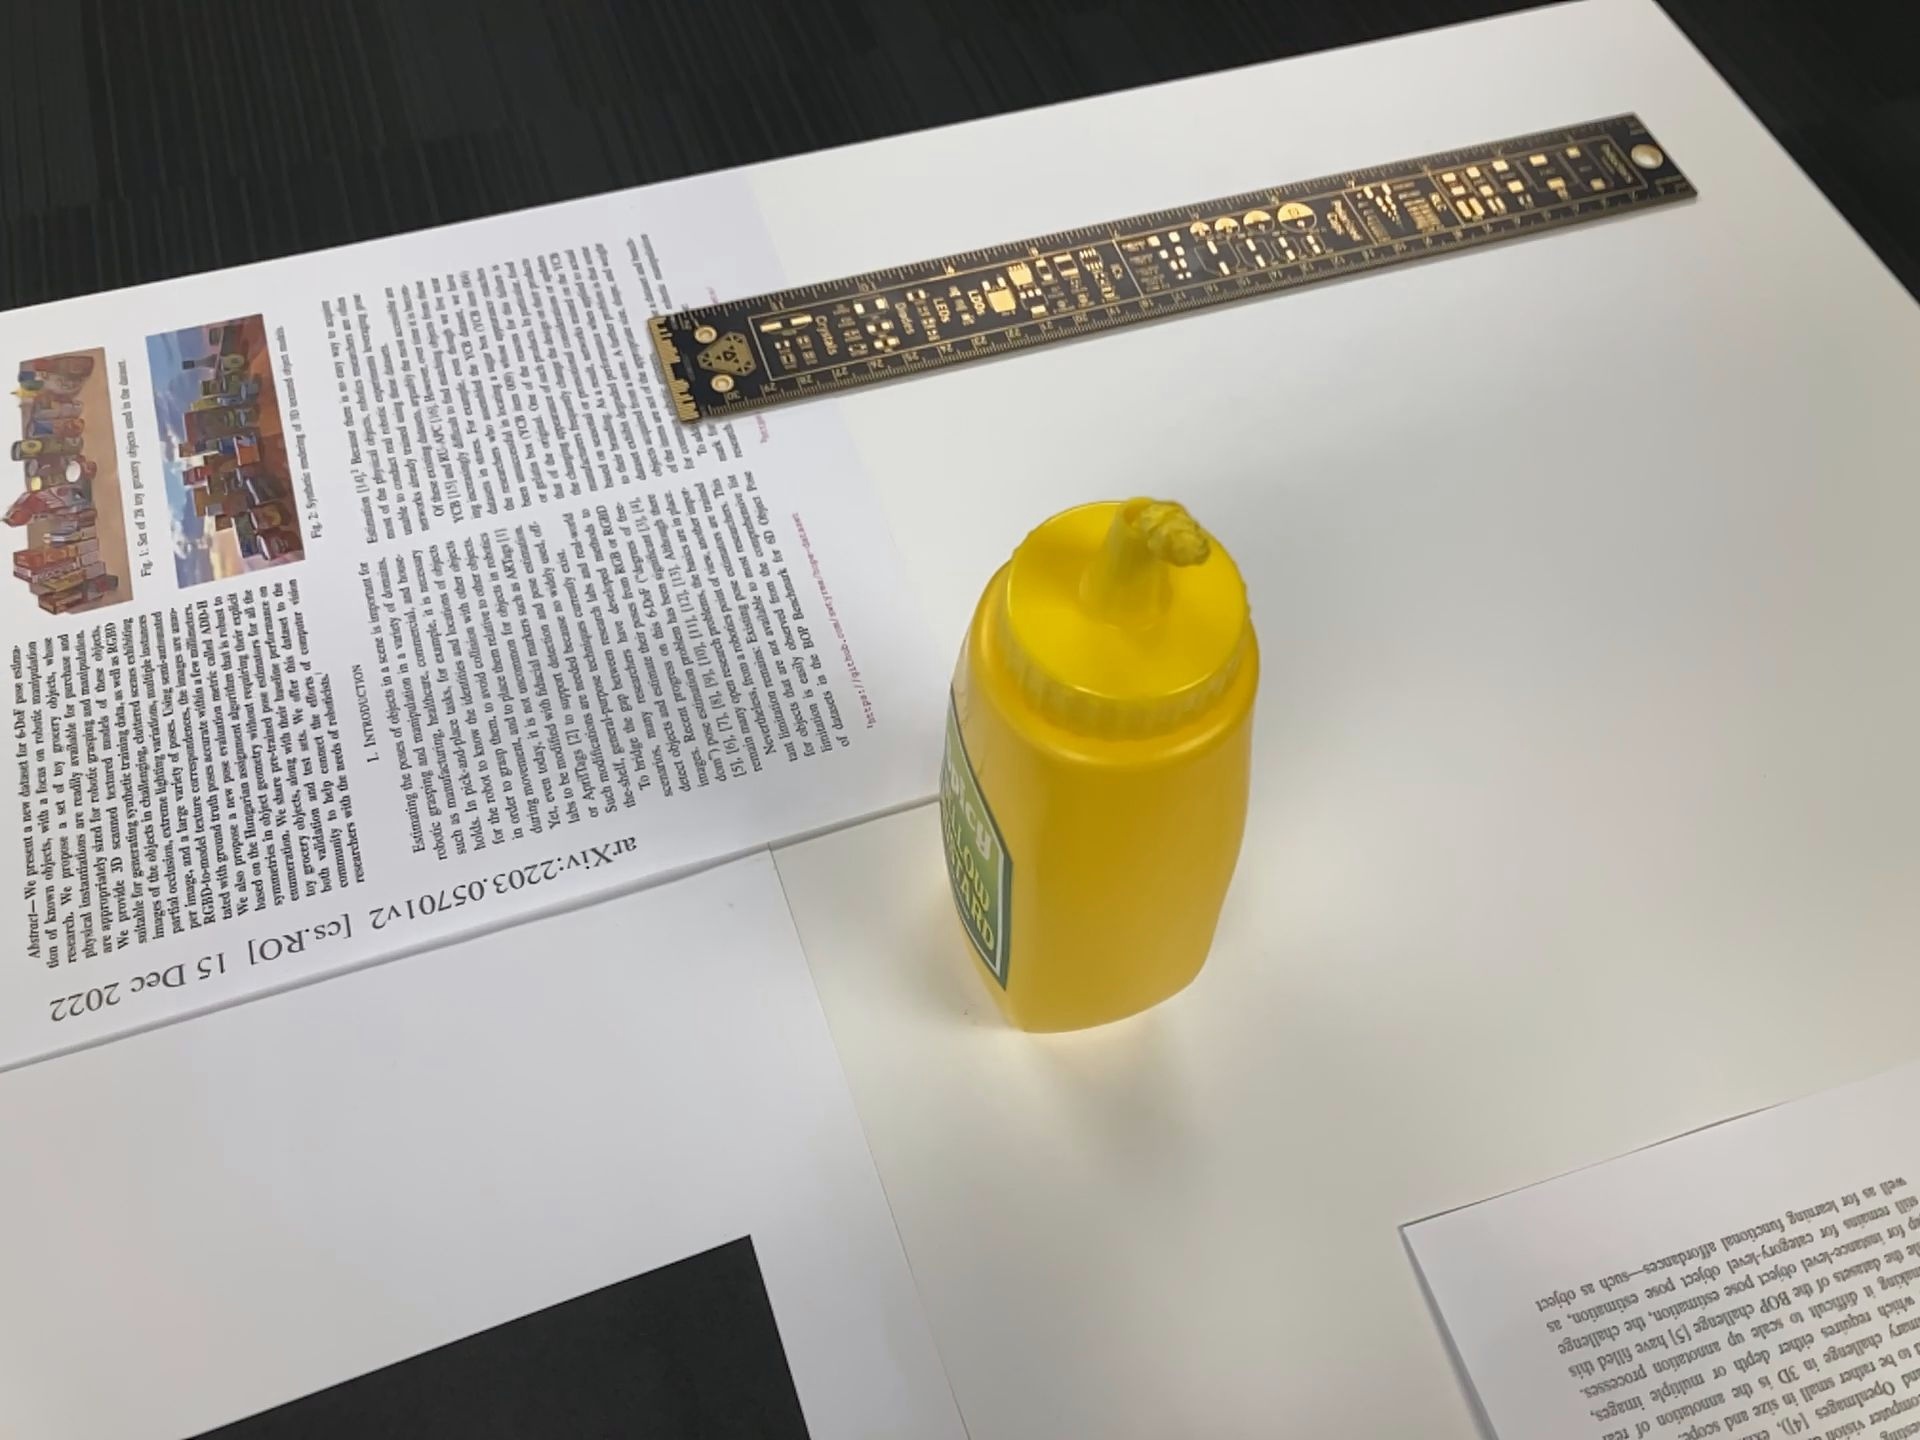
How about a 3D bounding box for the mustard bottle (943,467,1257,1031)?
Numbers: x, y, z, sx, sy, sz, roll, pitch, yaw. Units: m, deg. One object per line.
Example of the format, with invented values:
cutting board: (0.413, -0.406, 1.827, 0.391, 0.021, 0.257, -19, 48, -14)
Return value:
mustard bottle: (0.023, 0.005, 0.289, 0.049, 0.160, 0.065, -13, 60, -9)
